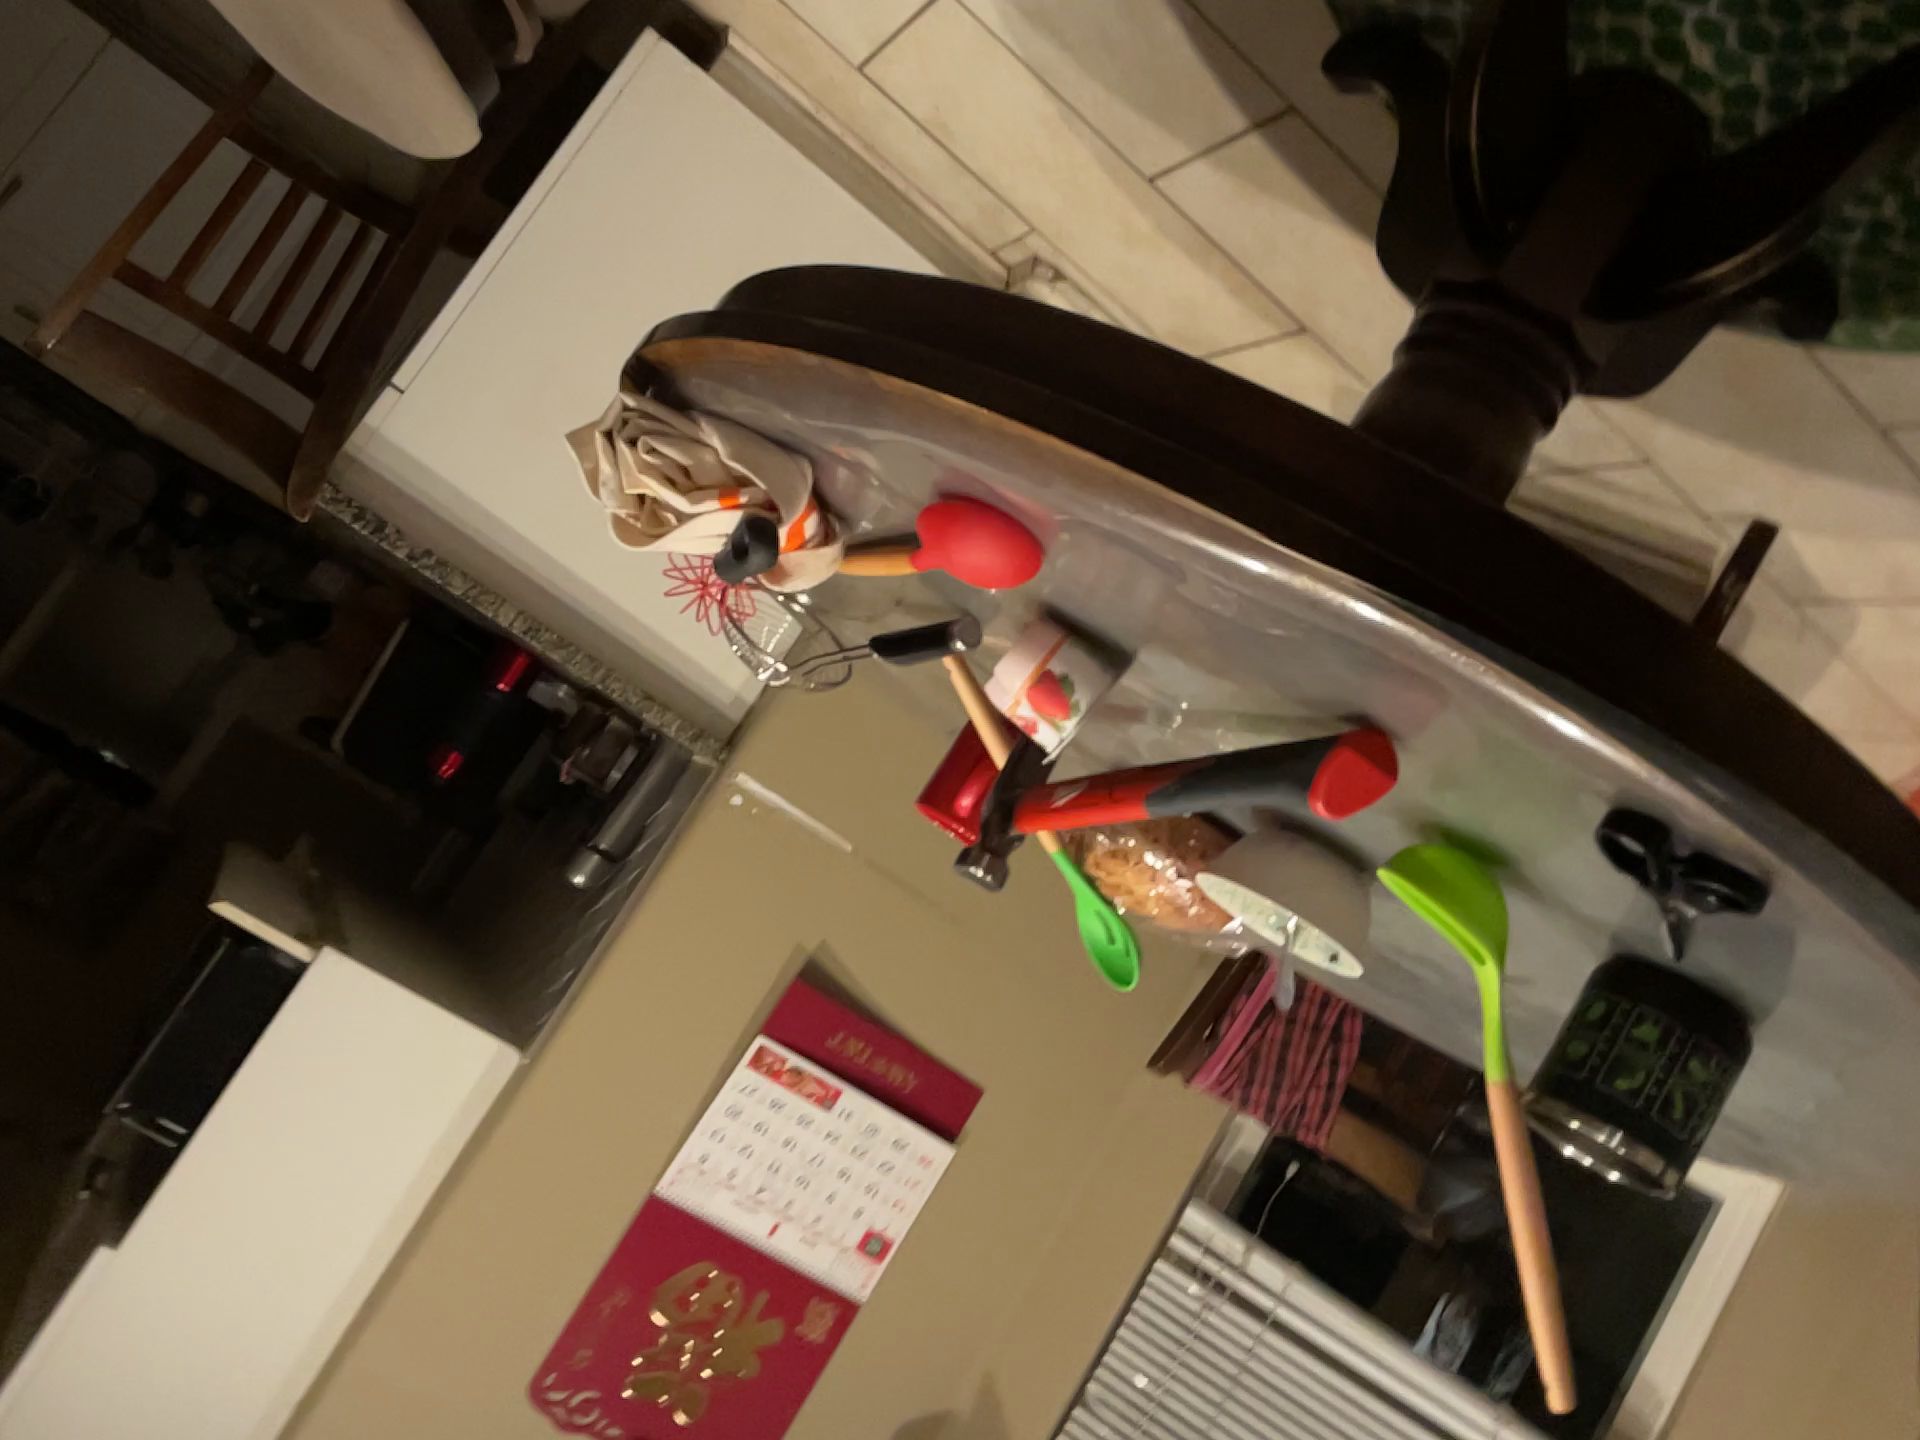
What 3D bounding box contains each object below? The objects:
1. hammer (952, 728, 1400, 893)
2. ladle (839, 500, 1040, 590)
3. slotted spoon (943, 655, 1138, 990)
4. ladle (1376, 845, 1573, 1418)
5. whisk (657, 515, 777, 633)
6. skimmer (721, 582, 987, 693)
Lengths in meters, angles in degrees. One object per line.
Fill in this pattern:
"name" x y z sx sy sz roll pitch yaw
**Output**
"hammer" 0.120 0.028 0.936 0.038 0.143 0.386 35 159 -19
"ladle" -0.032 -0.098 0.939 0.069 0.031 0.316 36 172 -18
"slotted spoon" 0.062 0.075 1.195 0.070 0.031 0.313 9 133 58
"ladle" 0.287 0.225 0.865 0.062 0.320 0.078 -11 -179 2
"whisk" -0.150 -0.098 1.015 0.073 0.073 0.296 36 170 -12
"skimmer" -0.076 -0.075 1.187 0.127 0.090 0.363 28 163 -27
